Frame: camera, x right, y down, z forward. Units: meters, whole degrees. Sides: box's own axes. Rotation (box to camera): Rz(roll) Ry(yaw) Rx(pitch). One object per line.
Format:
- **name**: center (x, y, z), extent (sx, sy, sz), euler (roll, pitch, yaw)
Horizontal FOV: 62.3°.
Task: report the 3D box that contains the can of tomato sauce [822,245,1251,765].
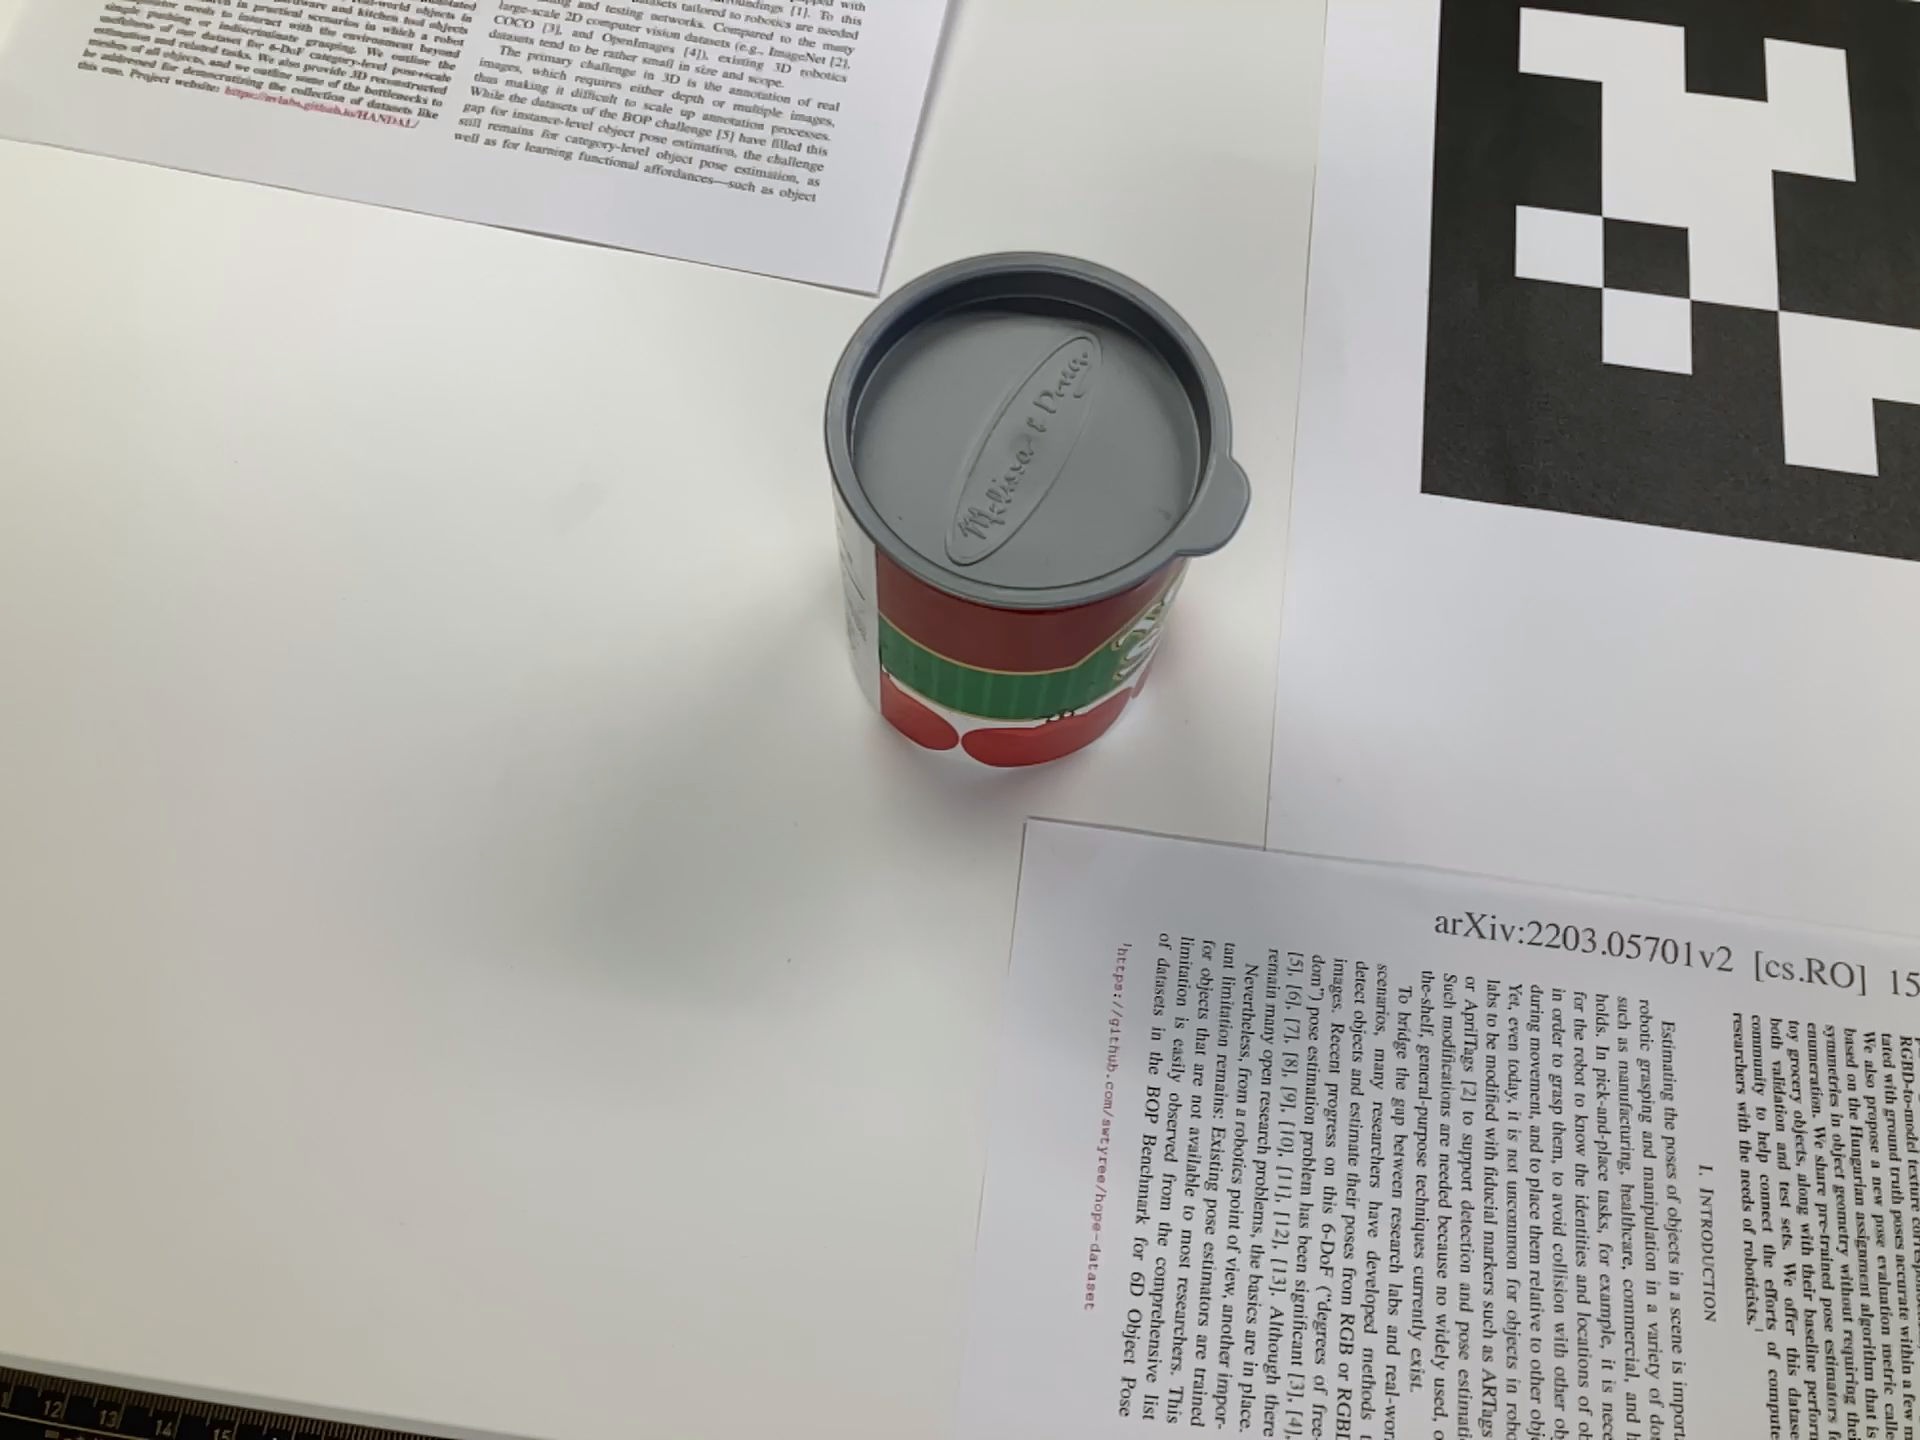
- **can of tomato sauce**: center (0.012, -0.035, 0.296), extent (0.071, 0.083, 0.071), euler (1, 70, -1)
